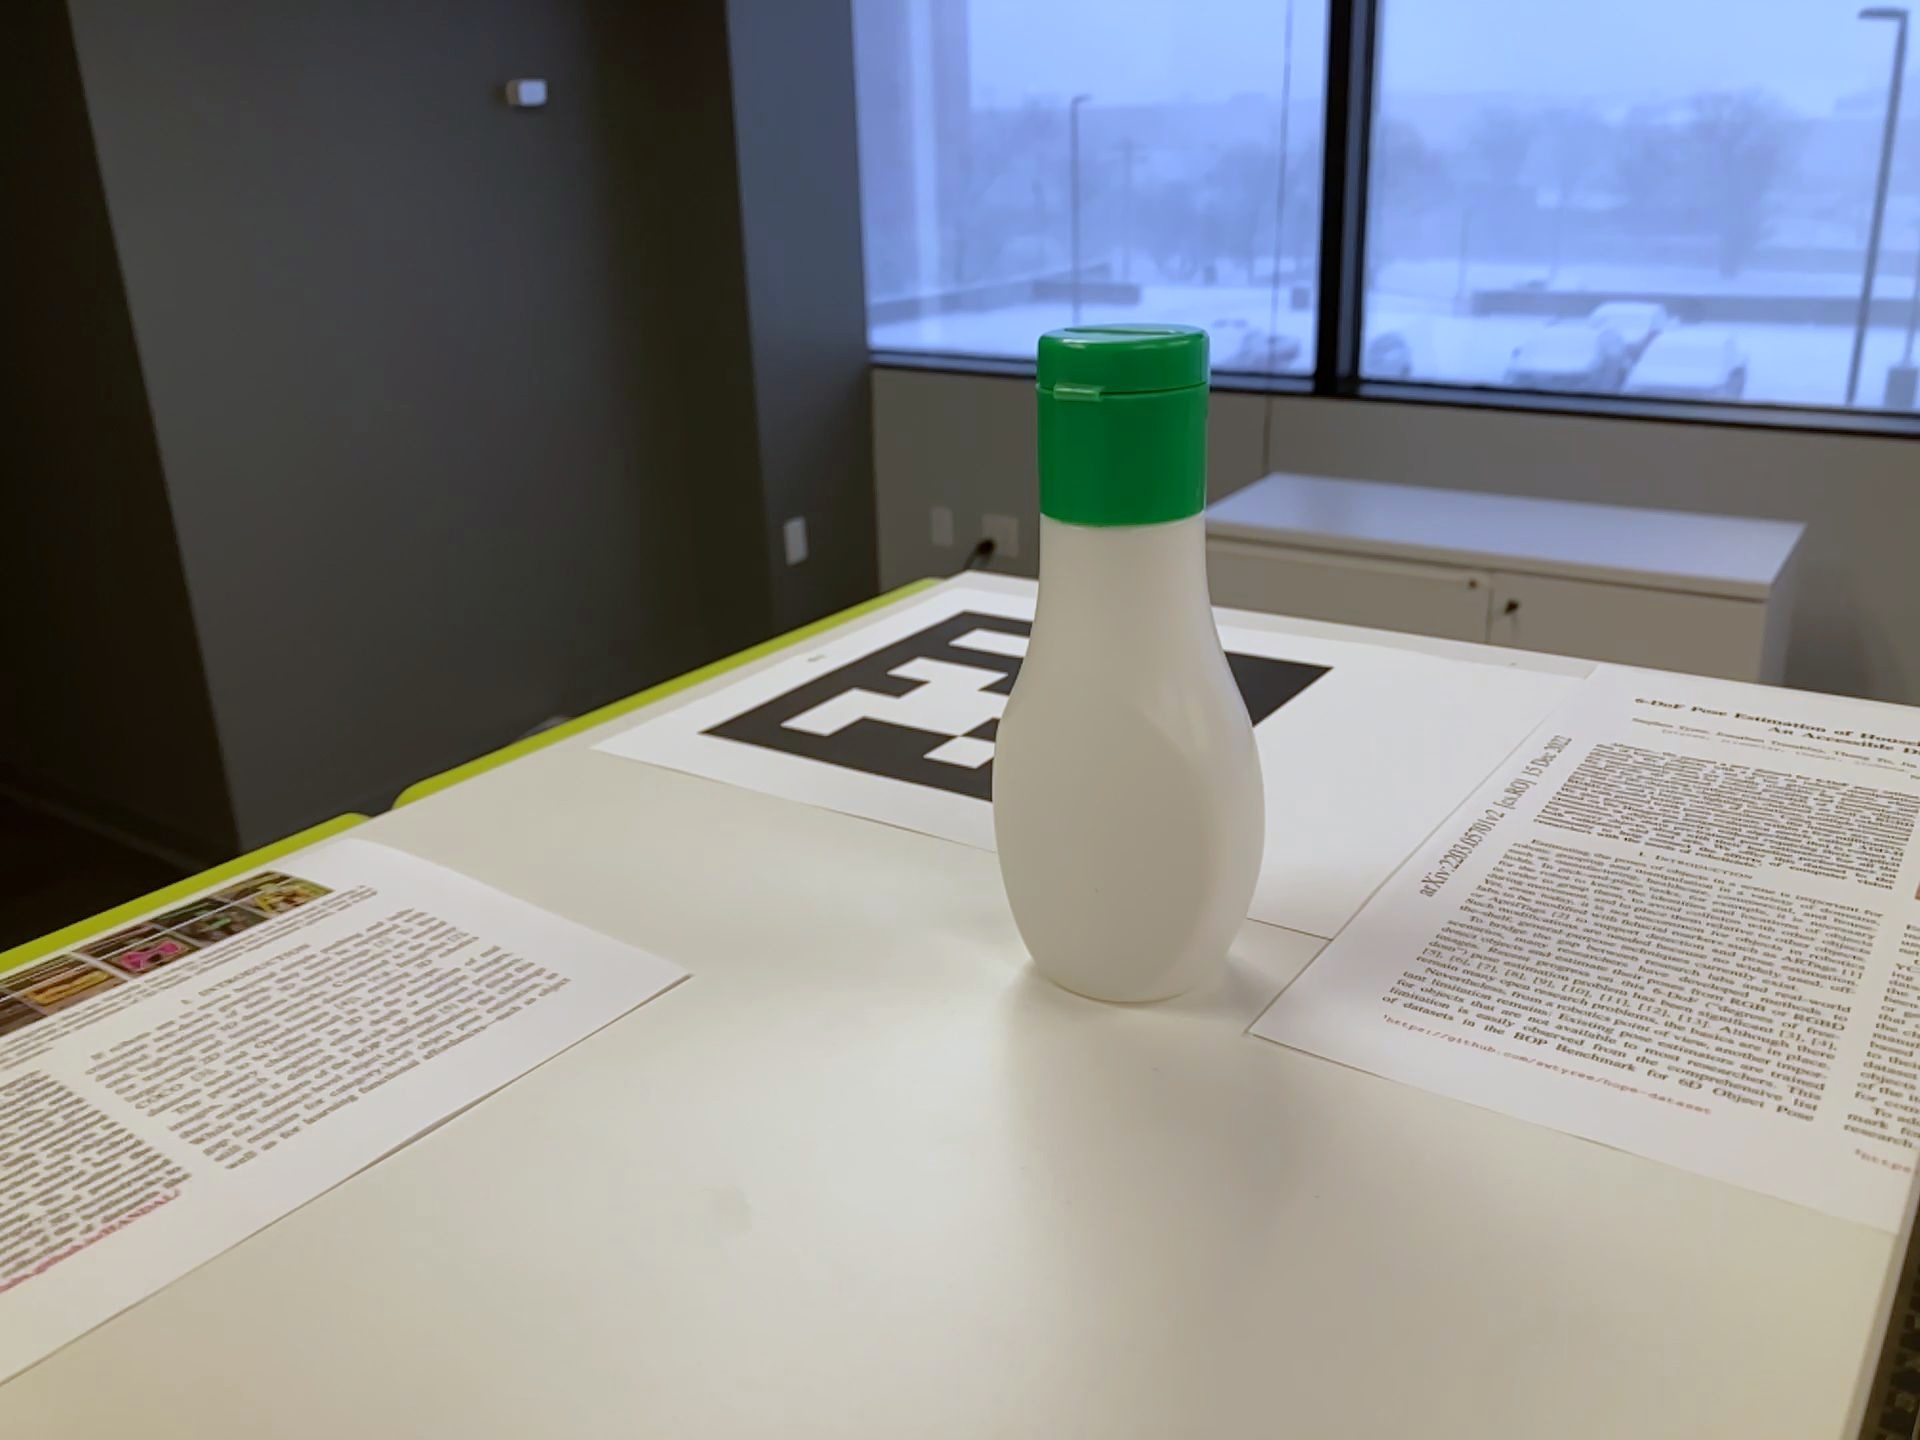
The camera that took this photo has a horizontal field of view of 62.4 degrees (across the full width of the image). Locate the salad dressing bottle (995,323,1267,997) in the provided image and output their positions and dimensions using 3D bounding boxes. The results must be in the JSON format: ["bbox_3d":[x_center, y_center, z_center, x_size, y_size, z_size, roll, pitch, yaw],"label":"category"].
[{"bbox_3d":[0.038,-0.013,0.357,0.064,0.147,0.044,12,24,34],"label":"salad dressing bottle"}]
